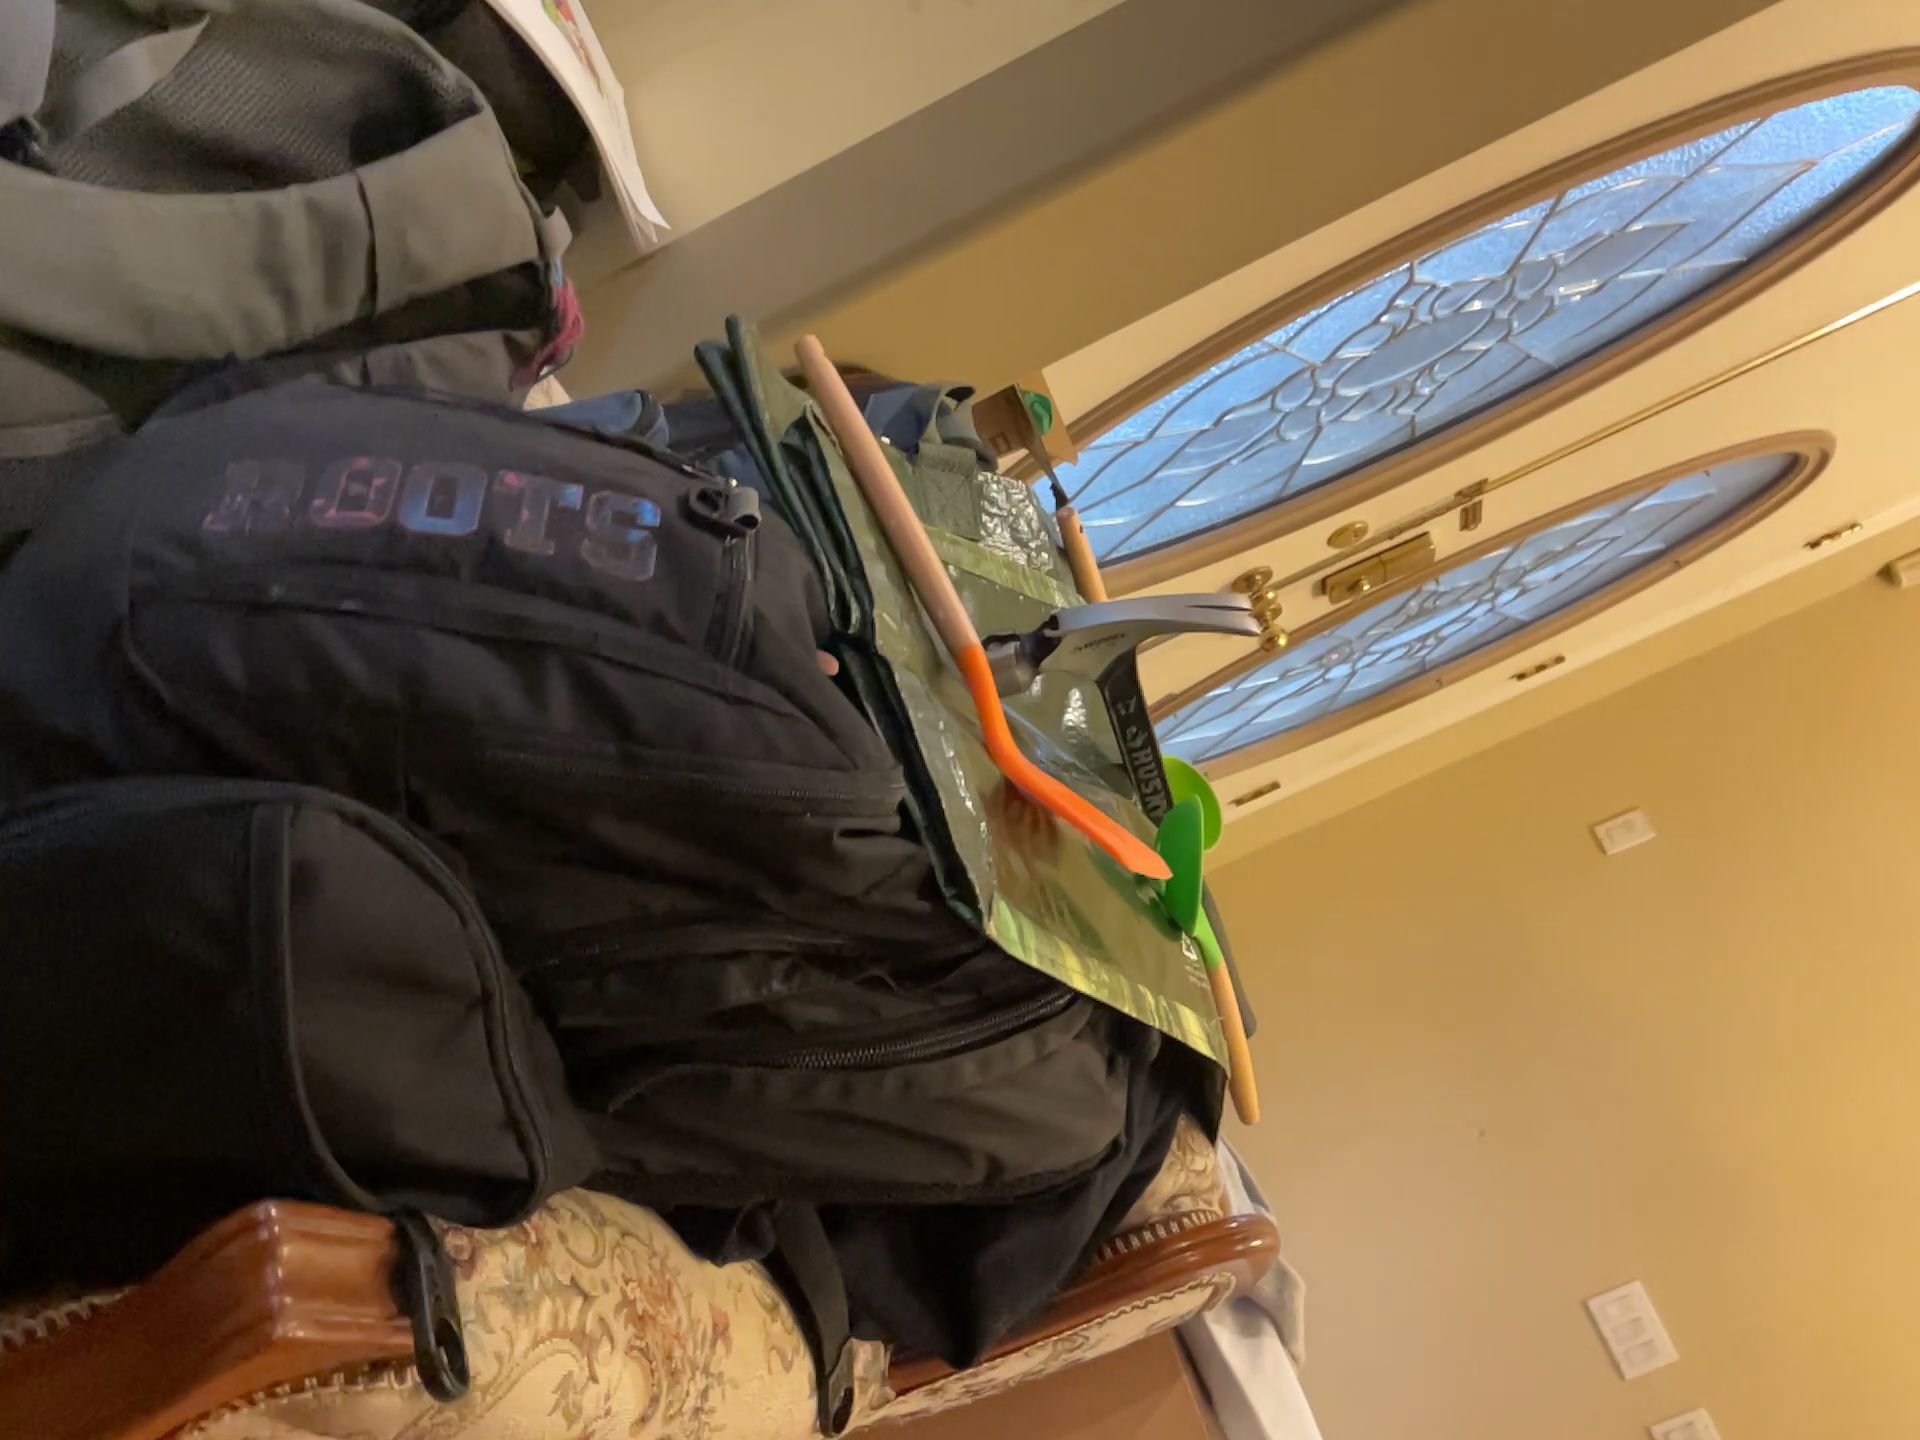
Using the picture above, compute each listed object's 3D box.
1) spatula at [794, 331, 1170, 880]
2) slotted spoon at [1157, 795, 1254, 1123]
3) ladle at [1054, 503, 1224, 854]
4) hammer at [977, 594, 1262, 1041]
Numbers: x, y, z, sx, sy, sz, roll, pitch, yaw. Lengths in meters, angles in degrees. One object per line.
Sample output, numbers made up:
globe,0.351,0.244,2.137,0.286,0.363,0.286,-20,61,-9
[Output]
spatula,0.000,-0.058,0.744,0.323,0.041,0.081,63,14,17
slotted spoon,0.147,0.154,0.917,0.313,0.031,0.070,70,16,-46
ladle,0.119,-0.020,1.059,0.319,0.062,0.078,67,29,-43
hammer,0.129,0.078,0.944,0.036,0.149,0.408,-96,168,-45
